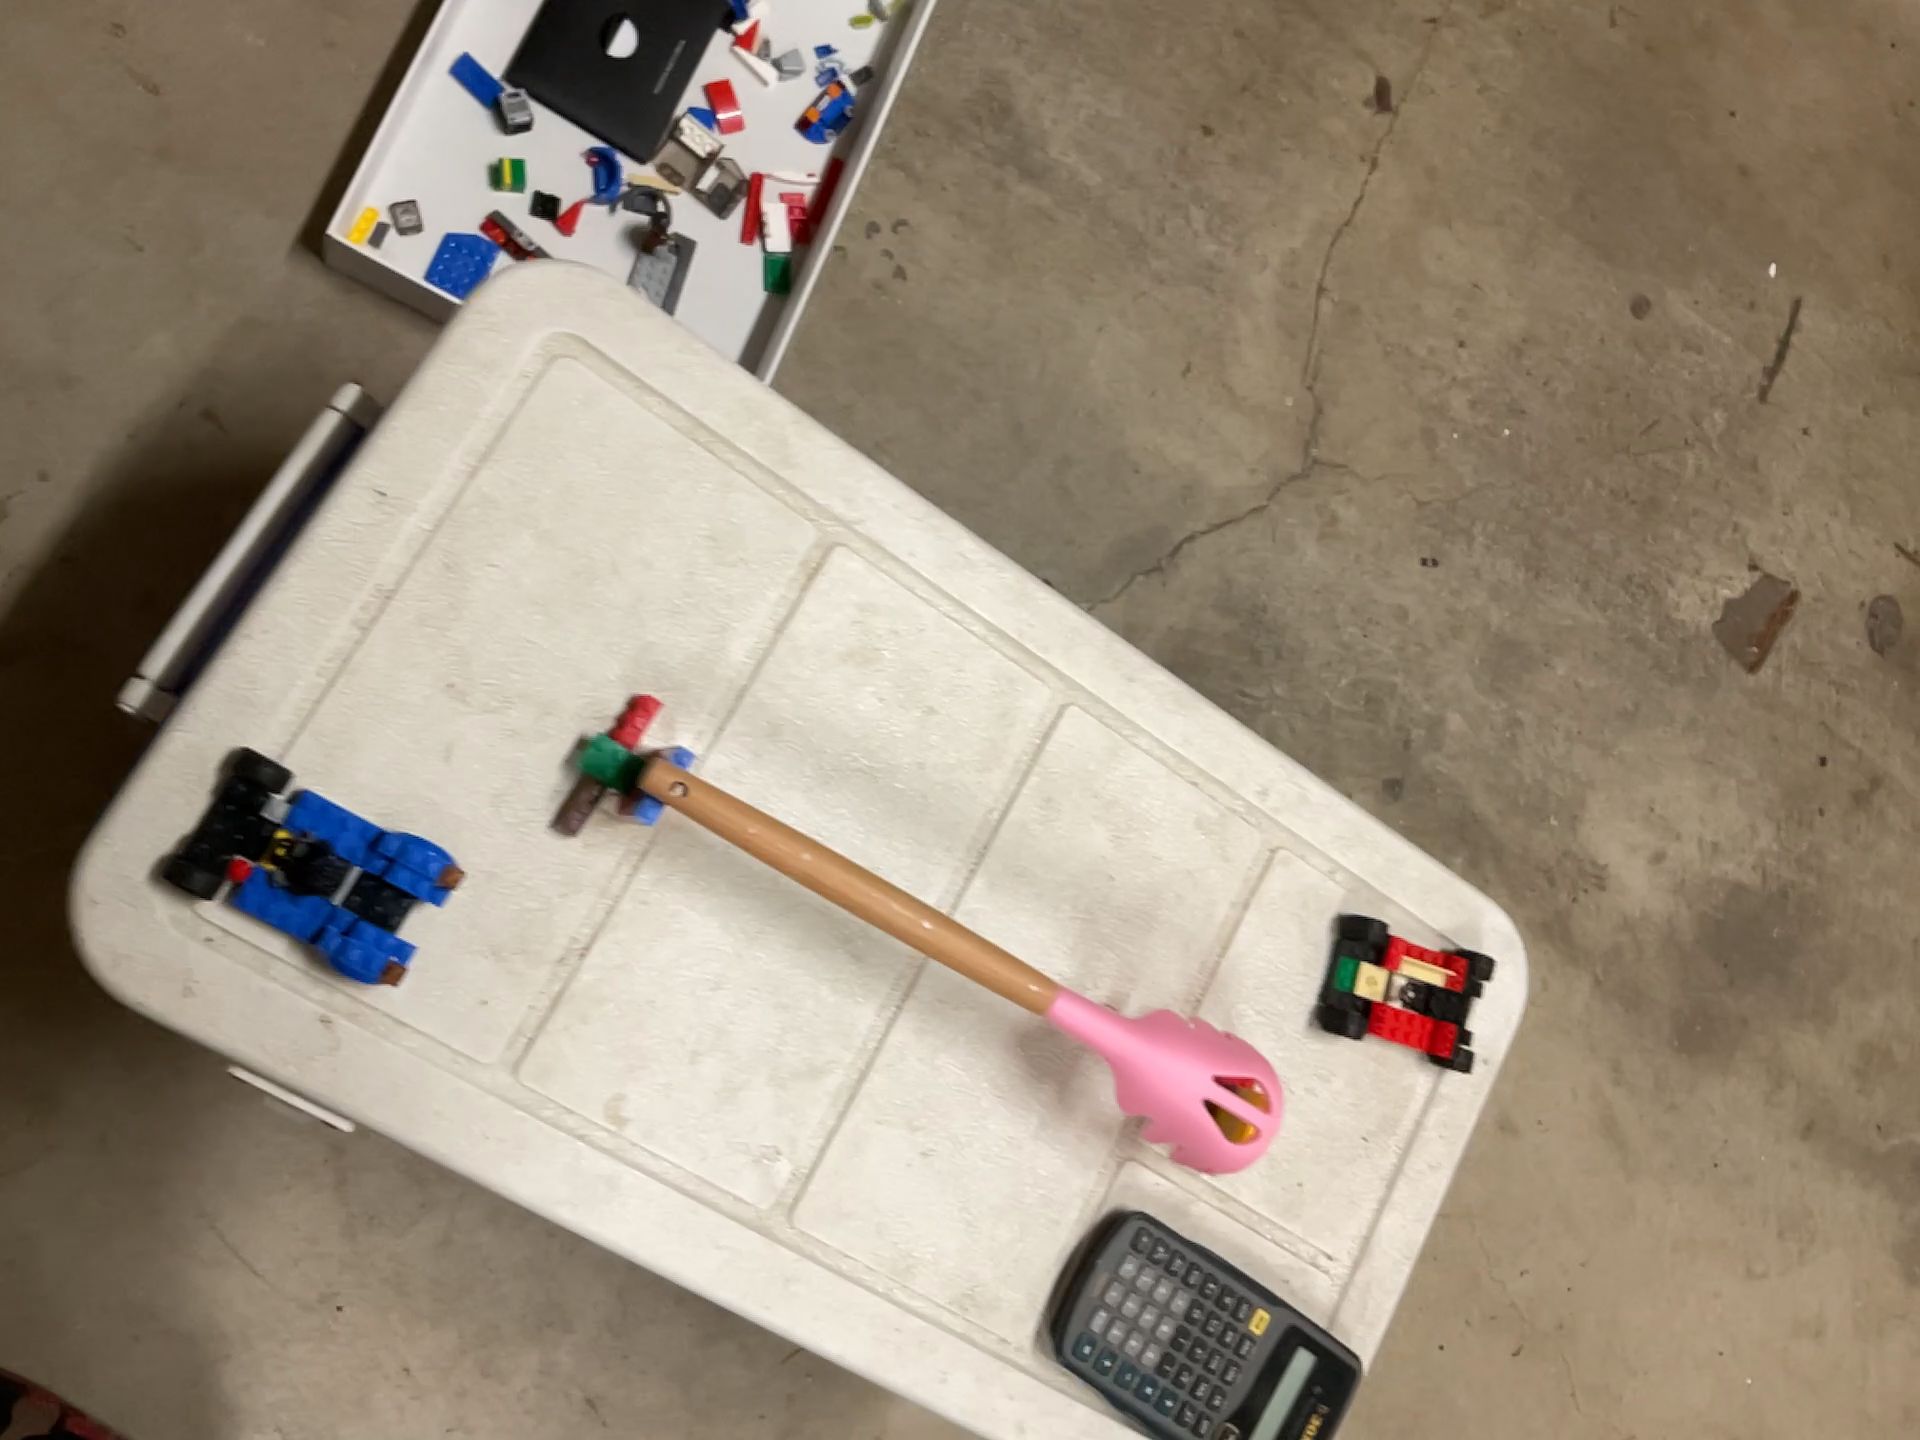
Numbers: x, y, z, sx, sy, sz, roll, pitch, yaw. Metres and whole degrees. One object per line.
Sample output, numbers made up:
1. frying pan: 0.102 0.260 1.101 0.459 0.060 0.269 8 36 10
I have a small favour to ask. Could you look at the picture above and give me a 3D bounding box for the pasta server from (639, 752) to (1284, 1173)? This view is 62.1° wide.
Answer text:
1. pasta server: 0.010 0.098 0.640 0.316 0.040 0.060 32 77 -15
